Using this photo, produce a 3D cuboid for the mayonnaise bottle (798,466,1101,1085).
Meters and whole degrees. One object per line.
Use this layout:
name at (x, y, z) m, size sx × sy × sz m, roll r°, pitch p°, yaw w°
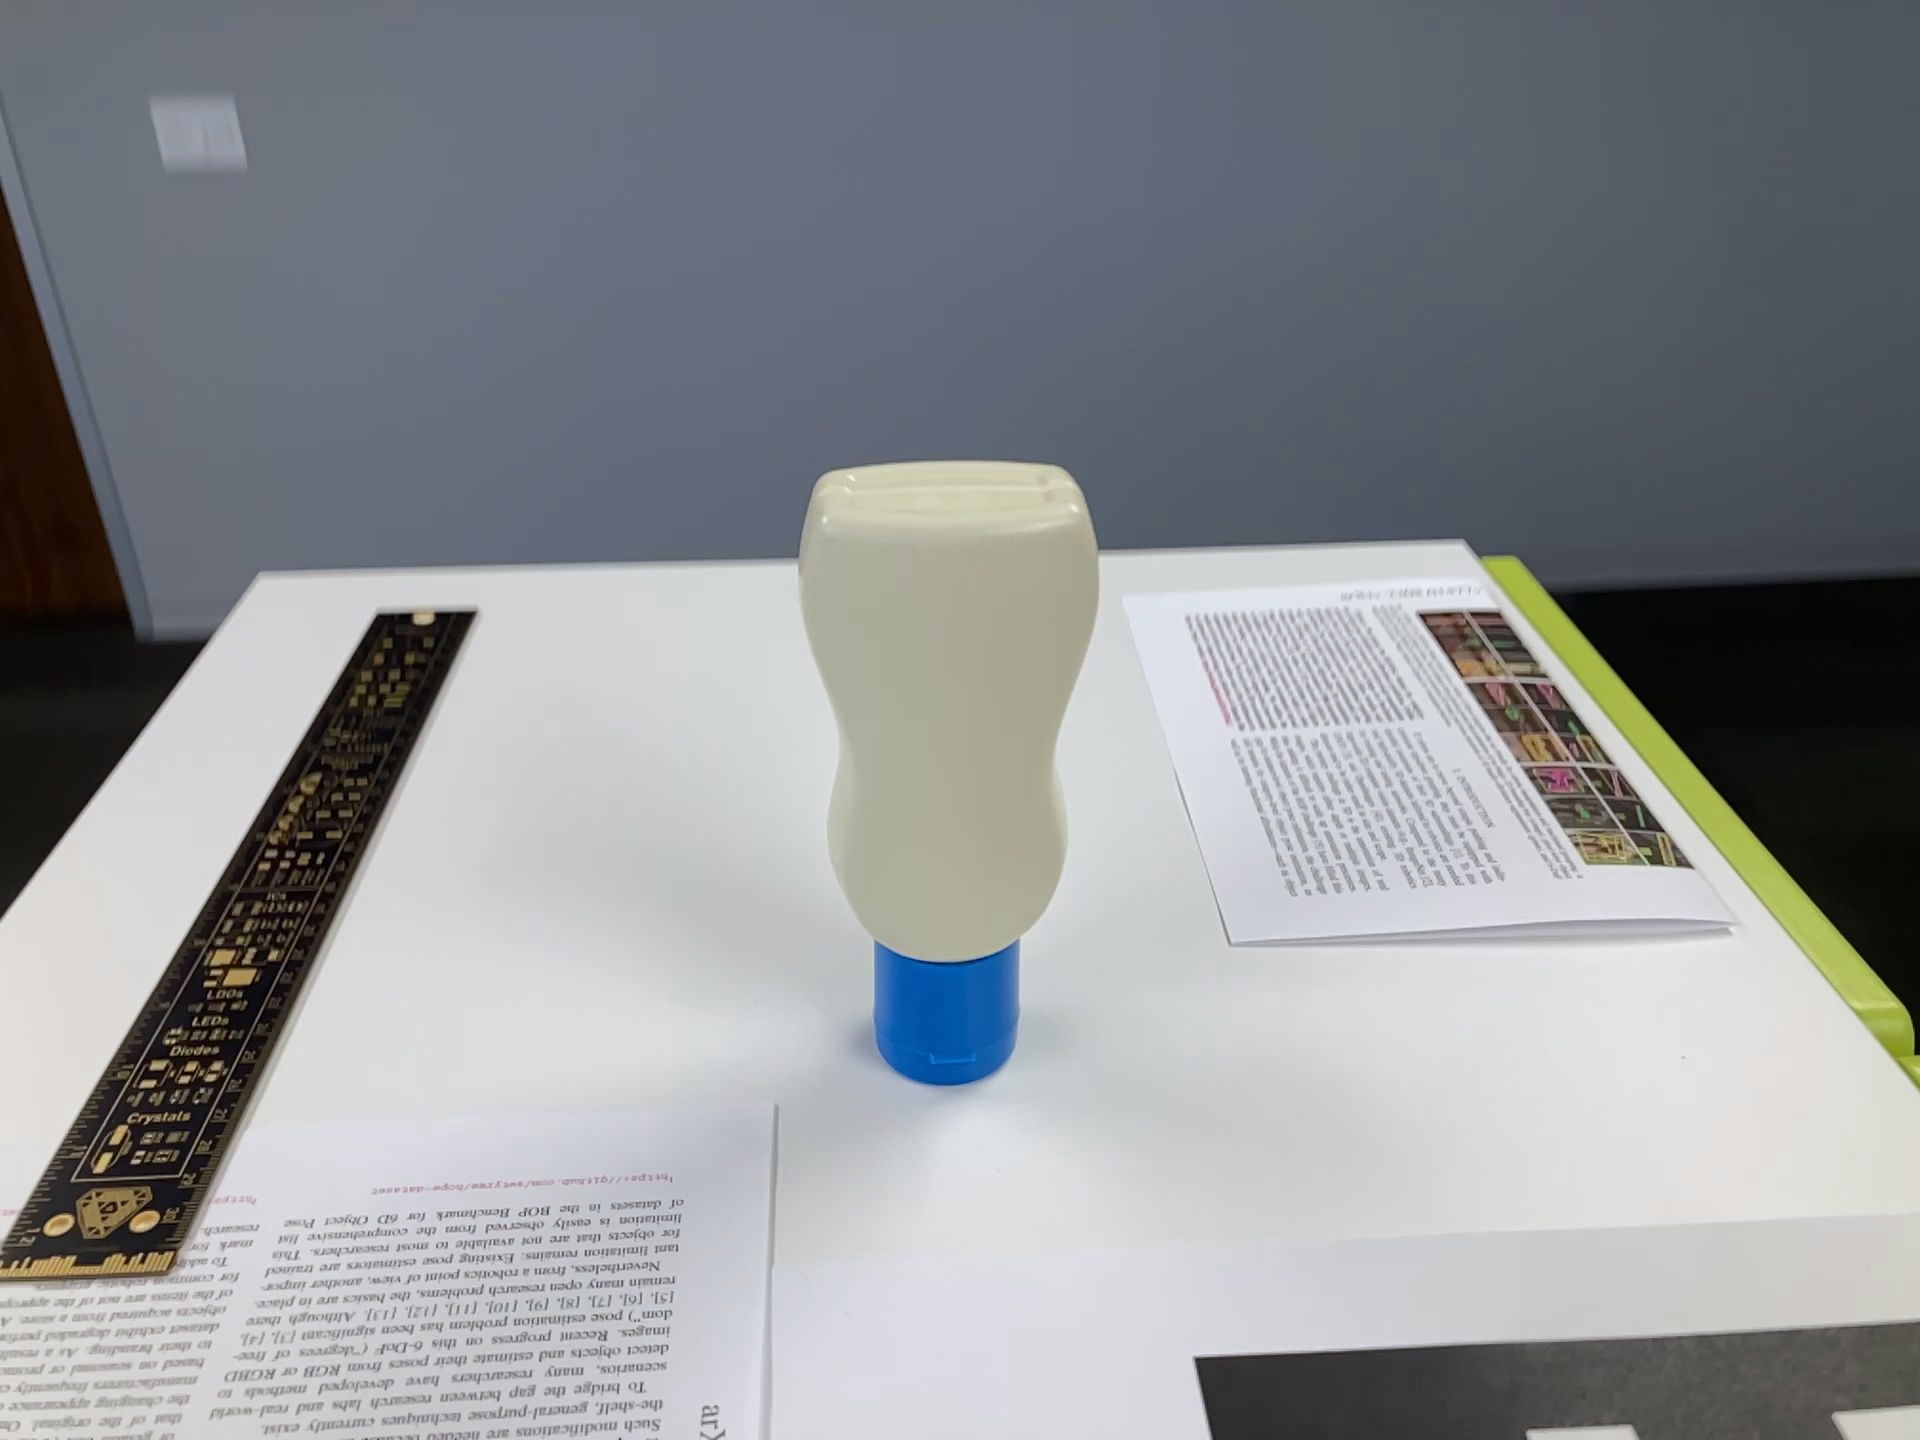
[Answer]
mayonnaise bottle at (-0.003, 0.017, 0.368) m, size 0.065 × 0.148 × 0.041 m, roll -2°, pitch 29°, yaw -4°
